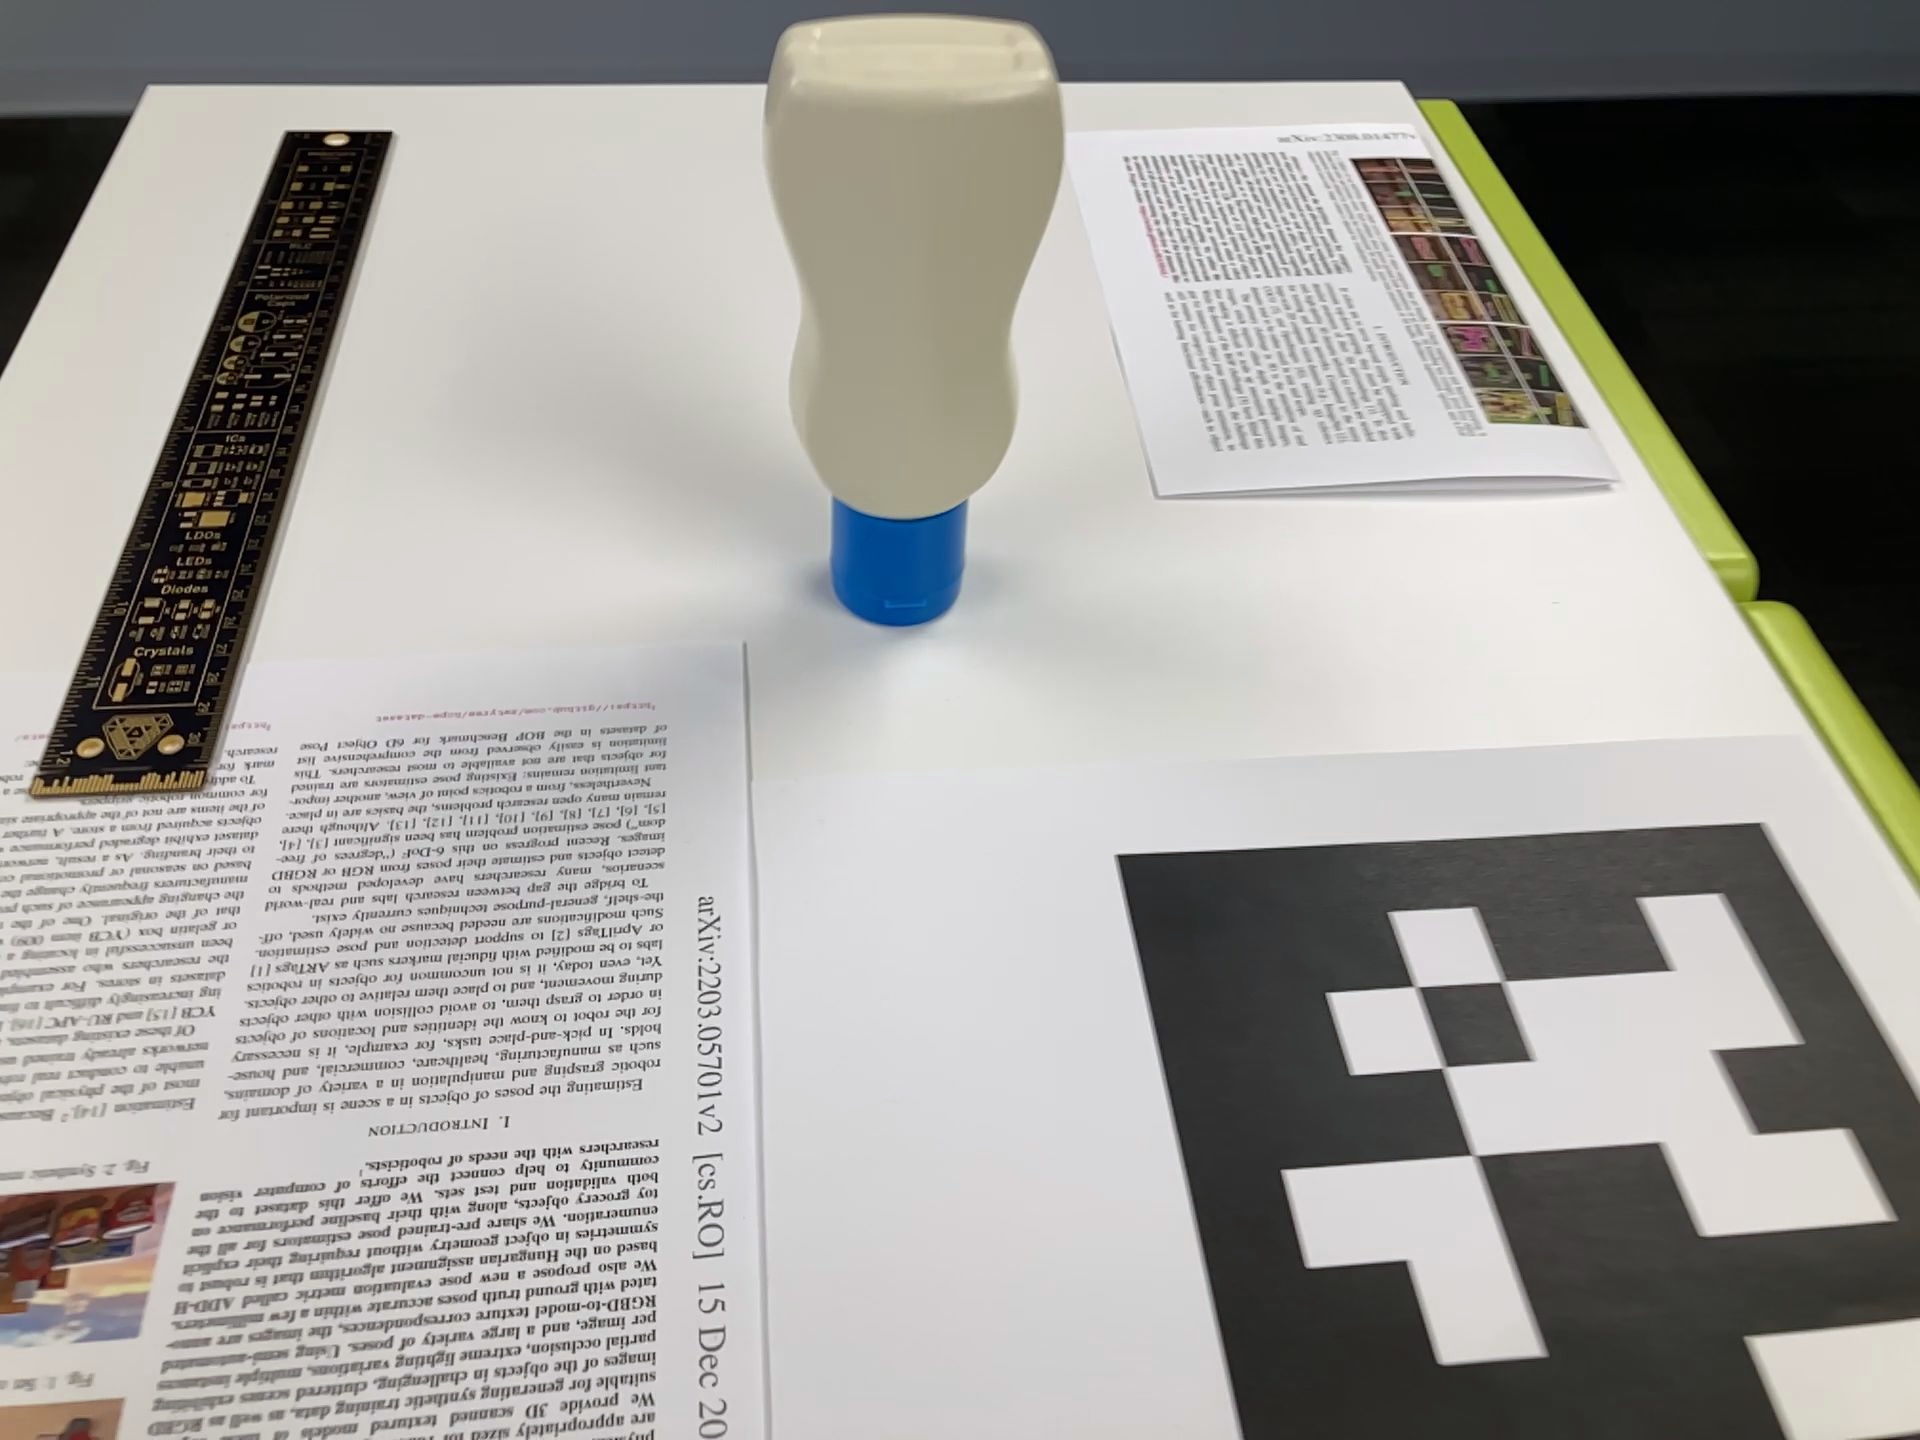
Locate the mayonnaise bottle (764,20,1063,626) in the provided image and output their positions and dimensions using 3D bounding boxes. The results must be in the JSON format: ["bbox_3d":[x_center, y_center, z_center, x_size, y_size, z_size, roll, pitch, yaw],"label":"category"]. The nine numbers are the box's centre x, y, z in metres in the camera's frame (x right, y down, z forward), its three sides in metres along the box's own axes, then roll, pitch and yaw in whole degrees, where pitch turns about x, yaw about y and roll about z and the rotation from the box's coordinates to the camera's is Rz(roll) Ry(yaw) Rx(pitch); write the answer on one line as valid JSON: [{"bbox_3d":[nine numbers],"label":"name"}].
[{"bbox_3d":[-0.013,-0.089,0.384,0.065,0.148,0.041,-3,47,-7],"label":"mayonnaise bottle"}]
